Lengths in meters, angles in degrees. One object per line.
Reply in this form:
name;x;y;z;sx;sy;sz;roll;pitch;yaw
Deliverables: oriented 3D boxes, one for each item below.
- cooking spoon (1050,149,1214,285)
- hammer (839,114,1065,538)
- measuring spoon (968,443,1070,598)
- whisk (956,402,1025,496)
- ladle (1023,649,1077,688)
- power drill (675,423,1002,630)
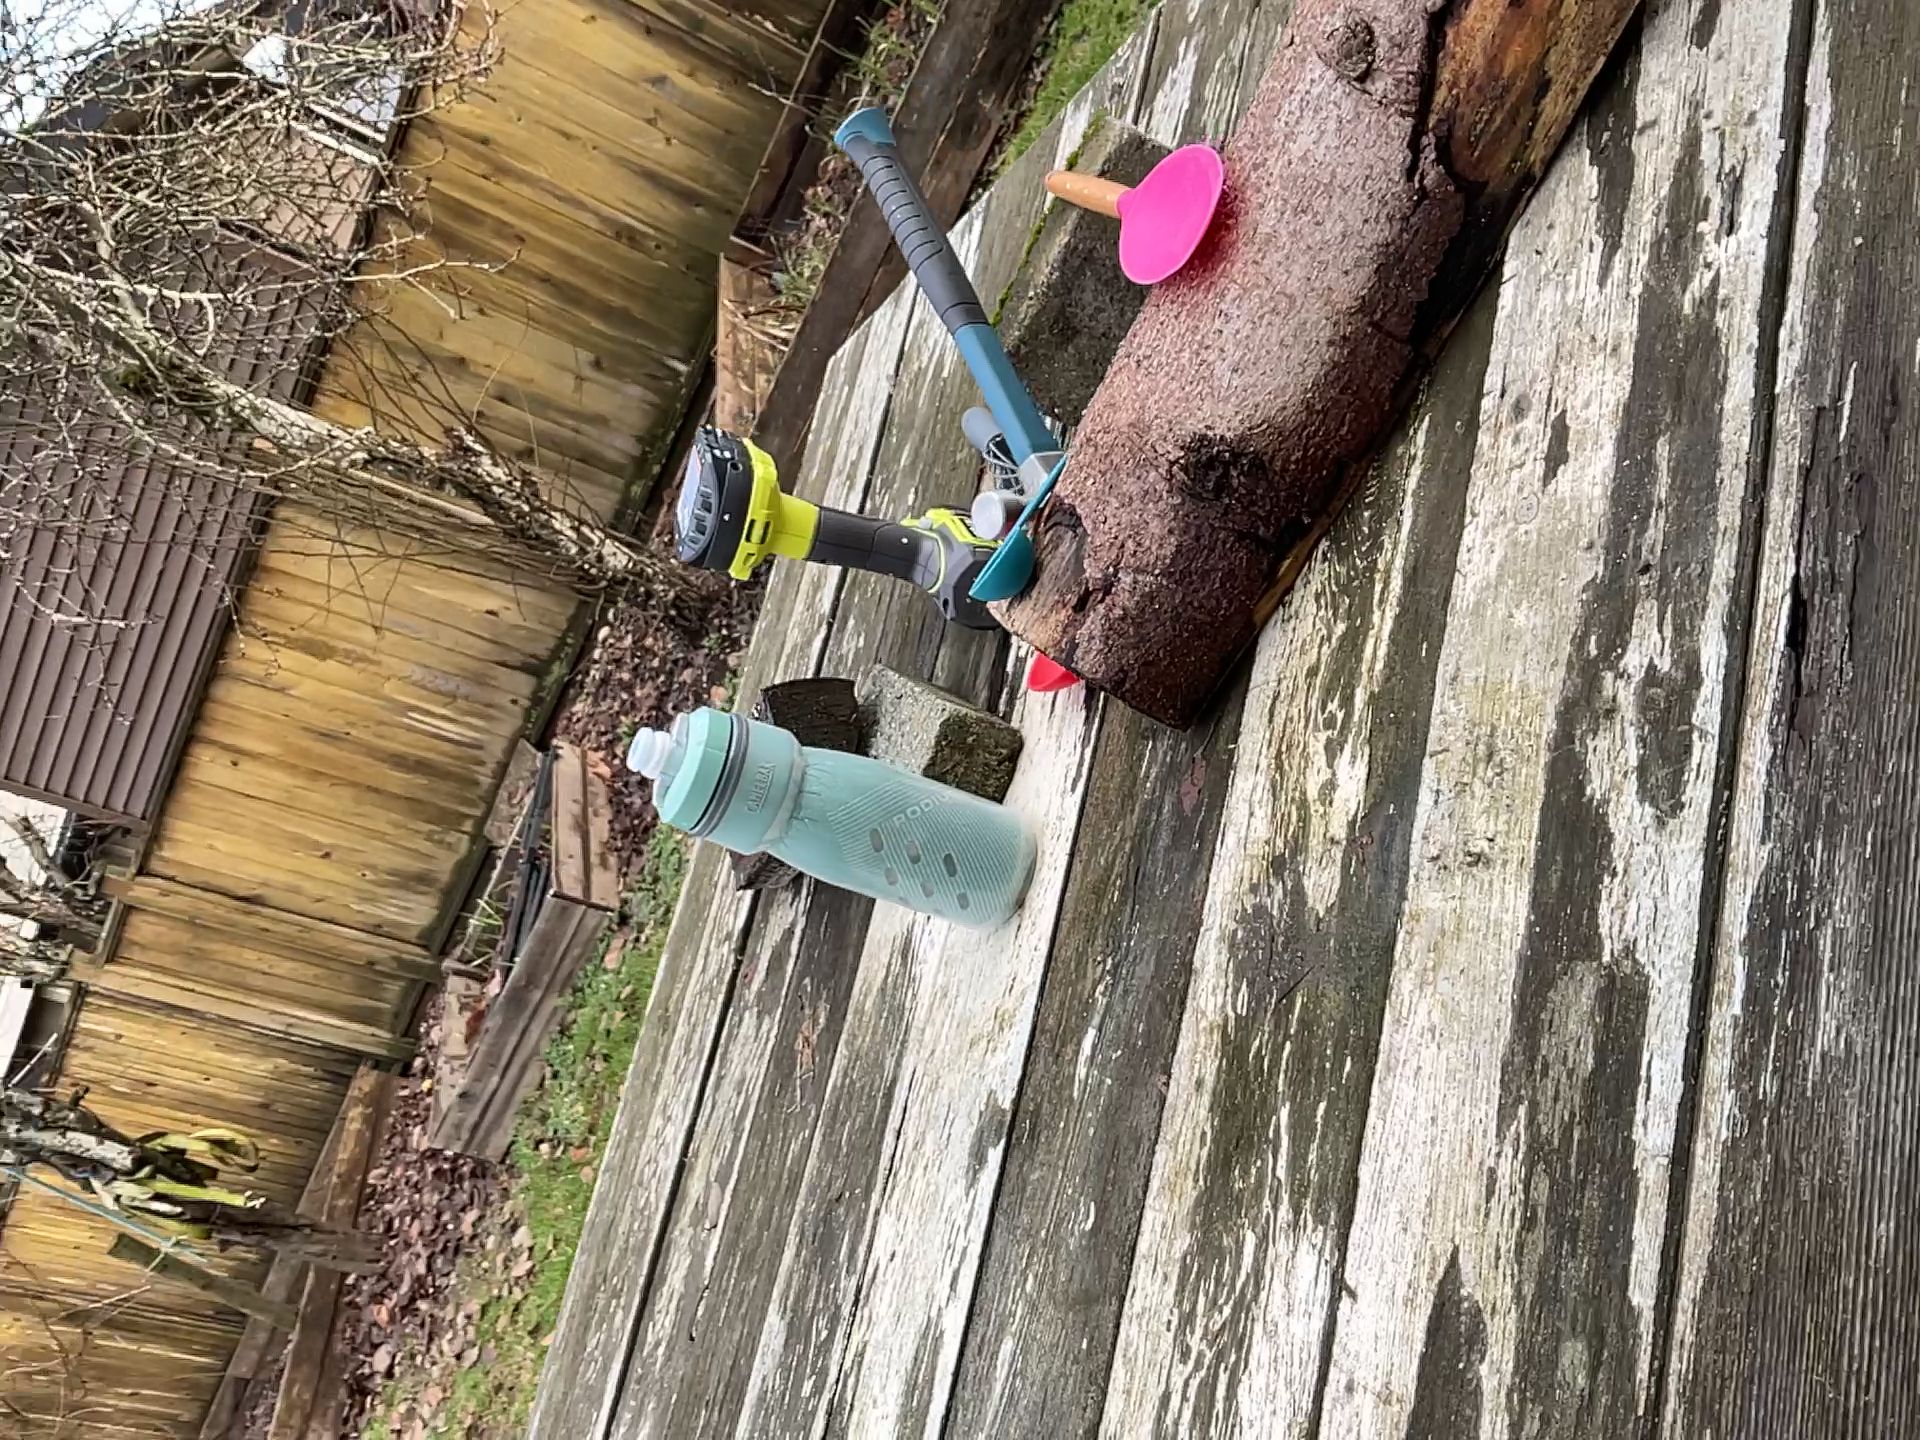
cooking spoon;0.087;-0.285;0.879;0.069;0.017;0.319;-64;17;17
hammer;0.002;-0.257;1.012;0.033;0.128;0.331;-45;64;44
measuring spoon;0.042;-0.106;0.838;0.042;0.021;0.129;-44;11;49
whisk;0.026;-0.200;1.138;0.055;0.055;0.239;-57;20;11
ladle;0.112;-0.160;0.931;0.315;0.031;0.069;-68;18;-1
power drill;-0.078;-0.133;1.101;0.171;0.223;0.080;-119;45;-65
